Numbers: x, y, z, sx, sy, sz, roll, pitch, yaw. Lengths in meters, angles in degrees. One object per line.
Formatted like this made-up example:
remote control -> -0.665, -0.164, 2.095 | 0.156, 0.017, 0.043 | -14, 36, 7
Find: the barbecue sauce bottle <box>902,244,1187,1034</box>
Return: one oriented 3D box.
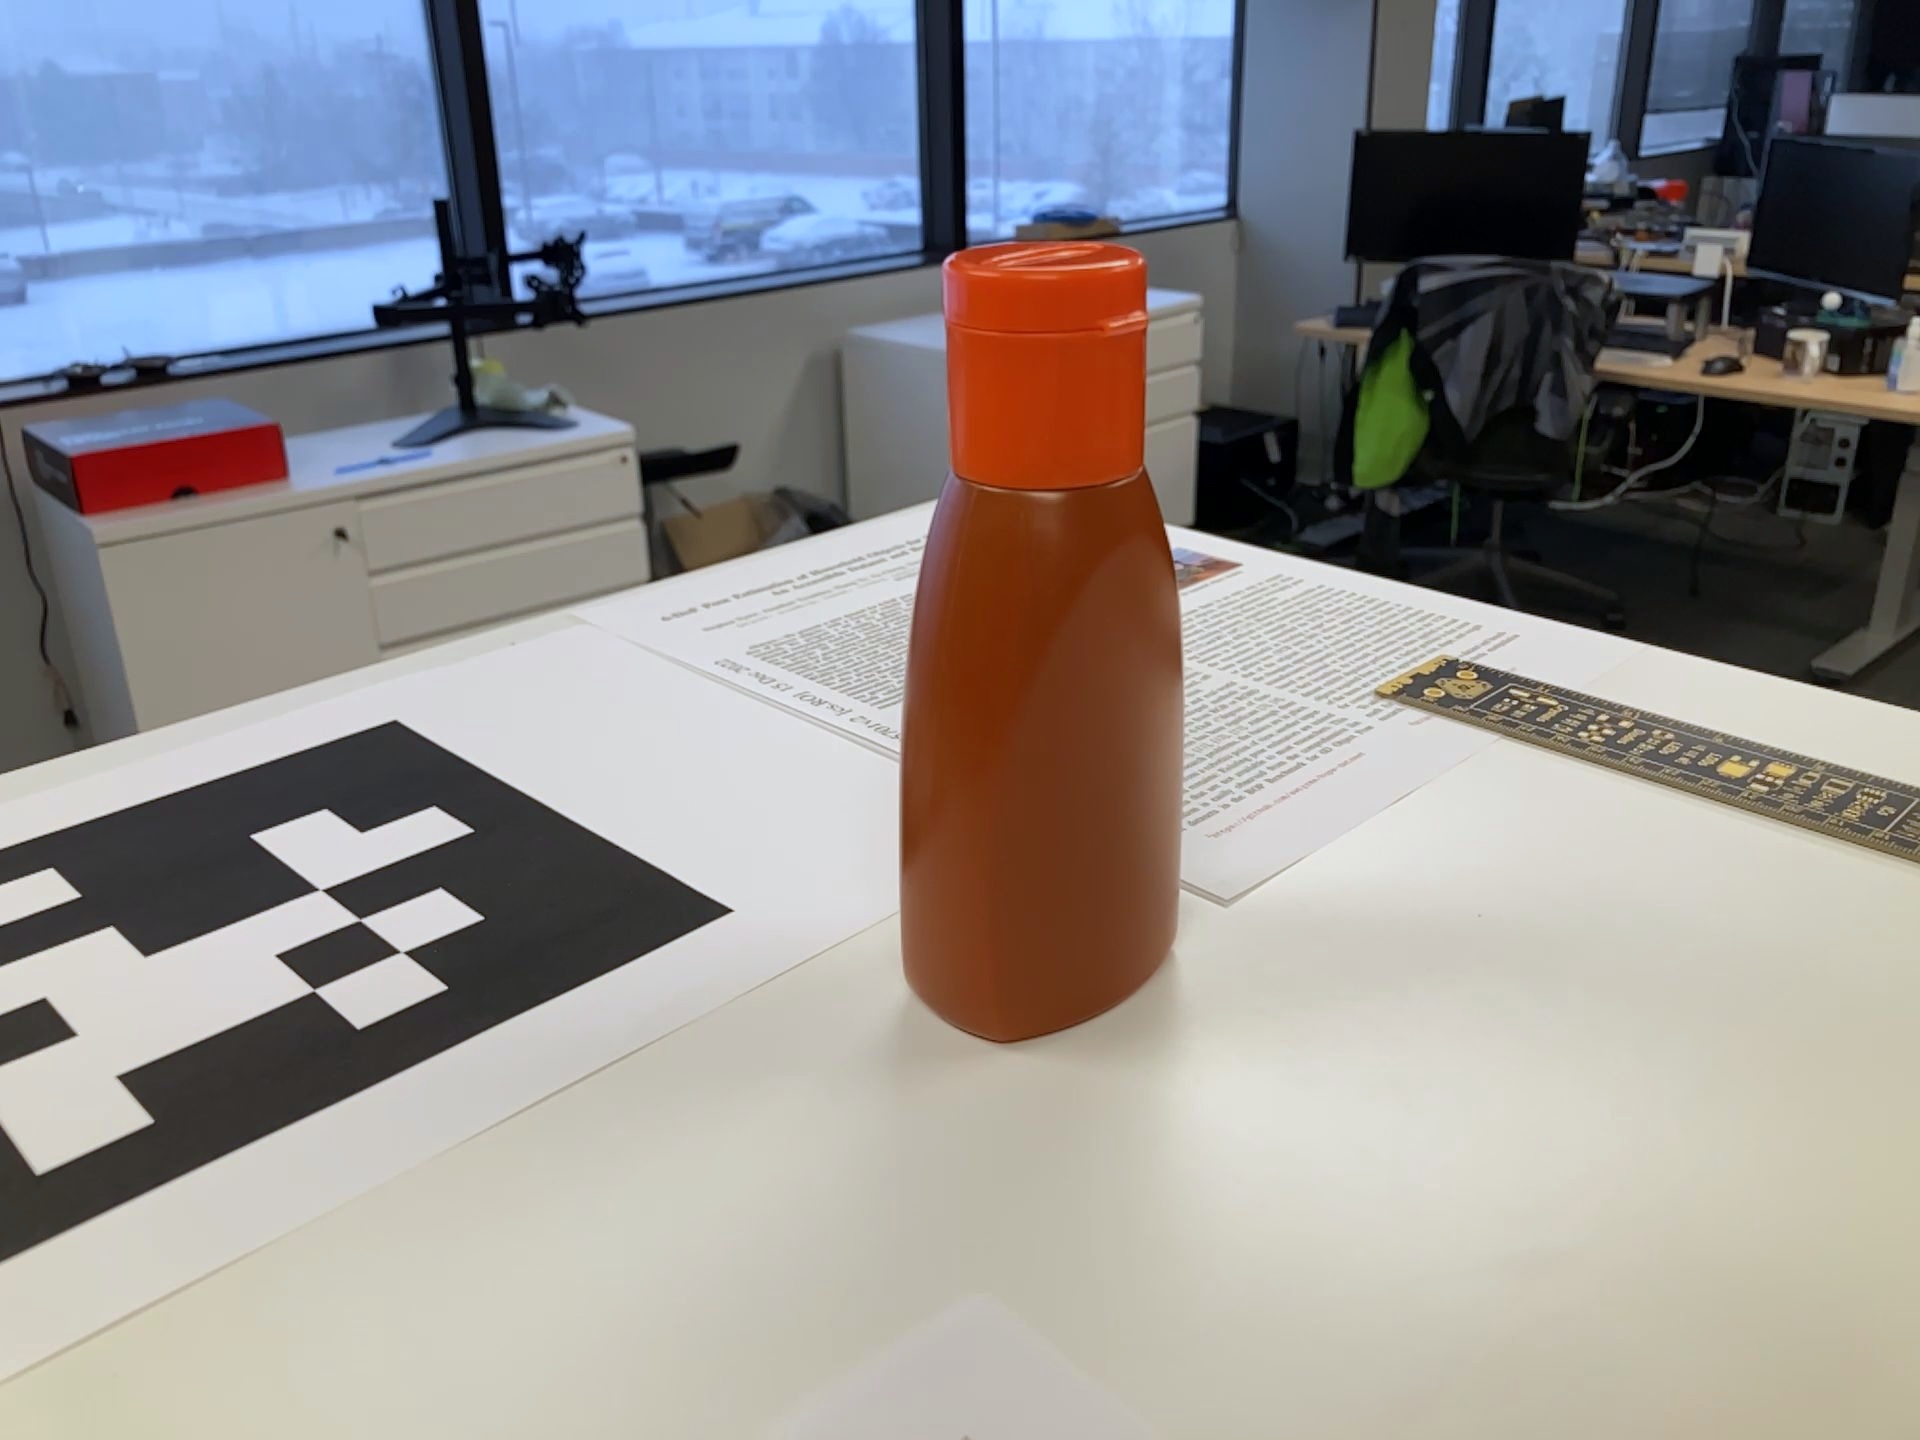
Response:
barbecue sauce bottle -> 0.017, -0.015, 0.313 | 0.065, 0.148, 0.043 | -22, 31, -39
